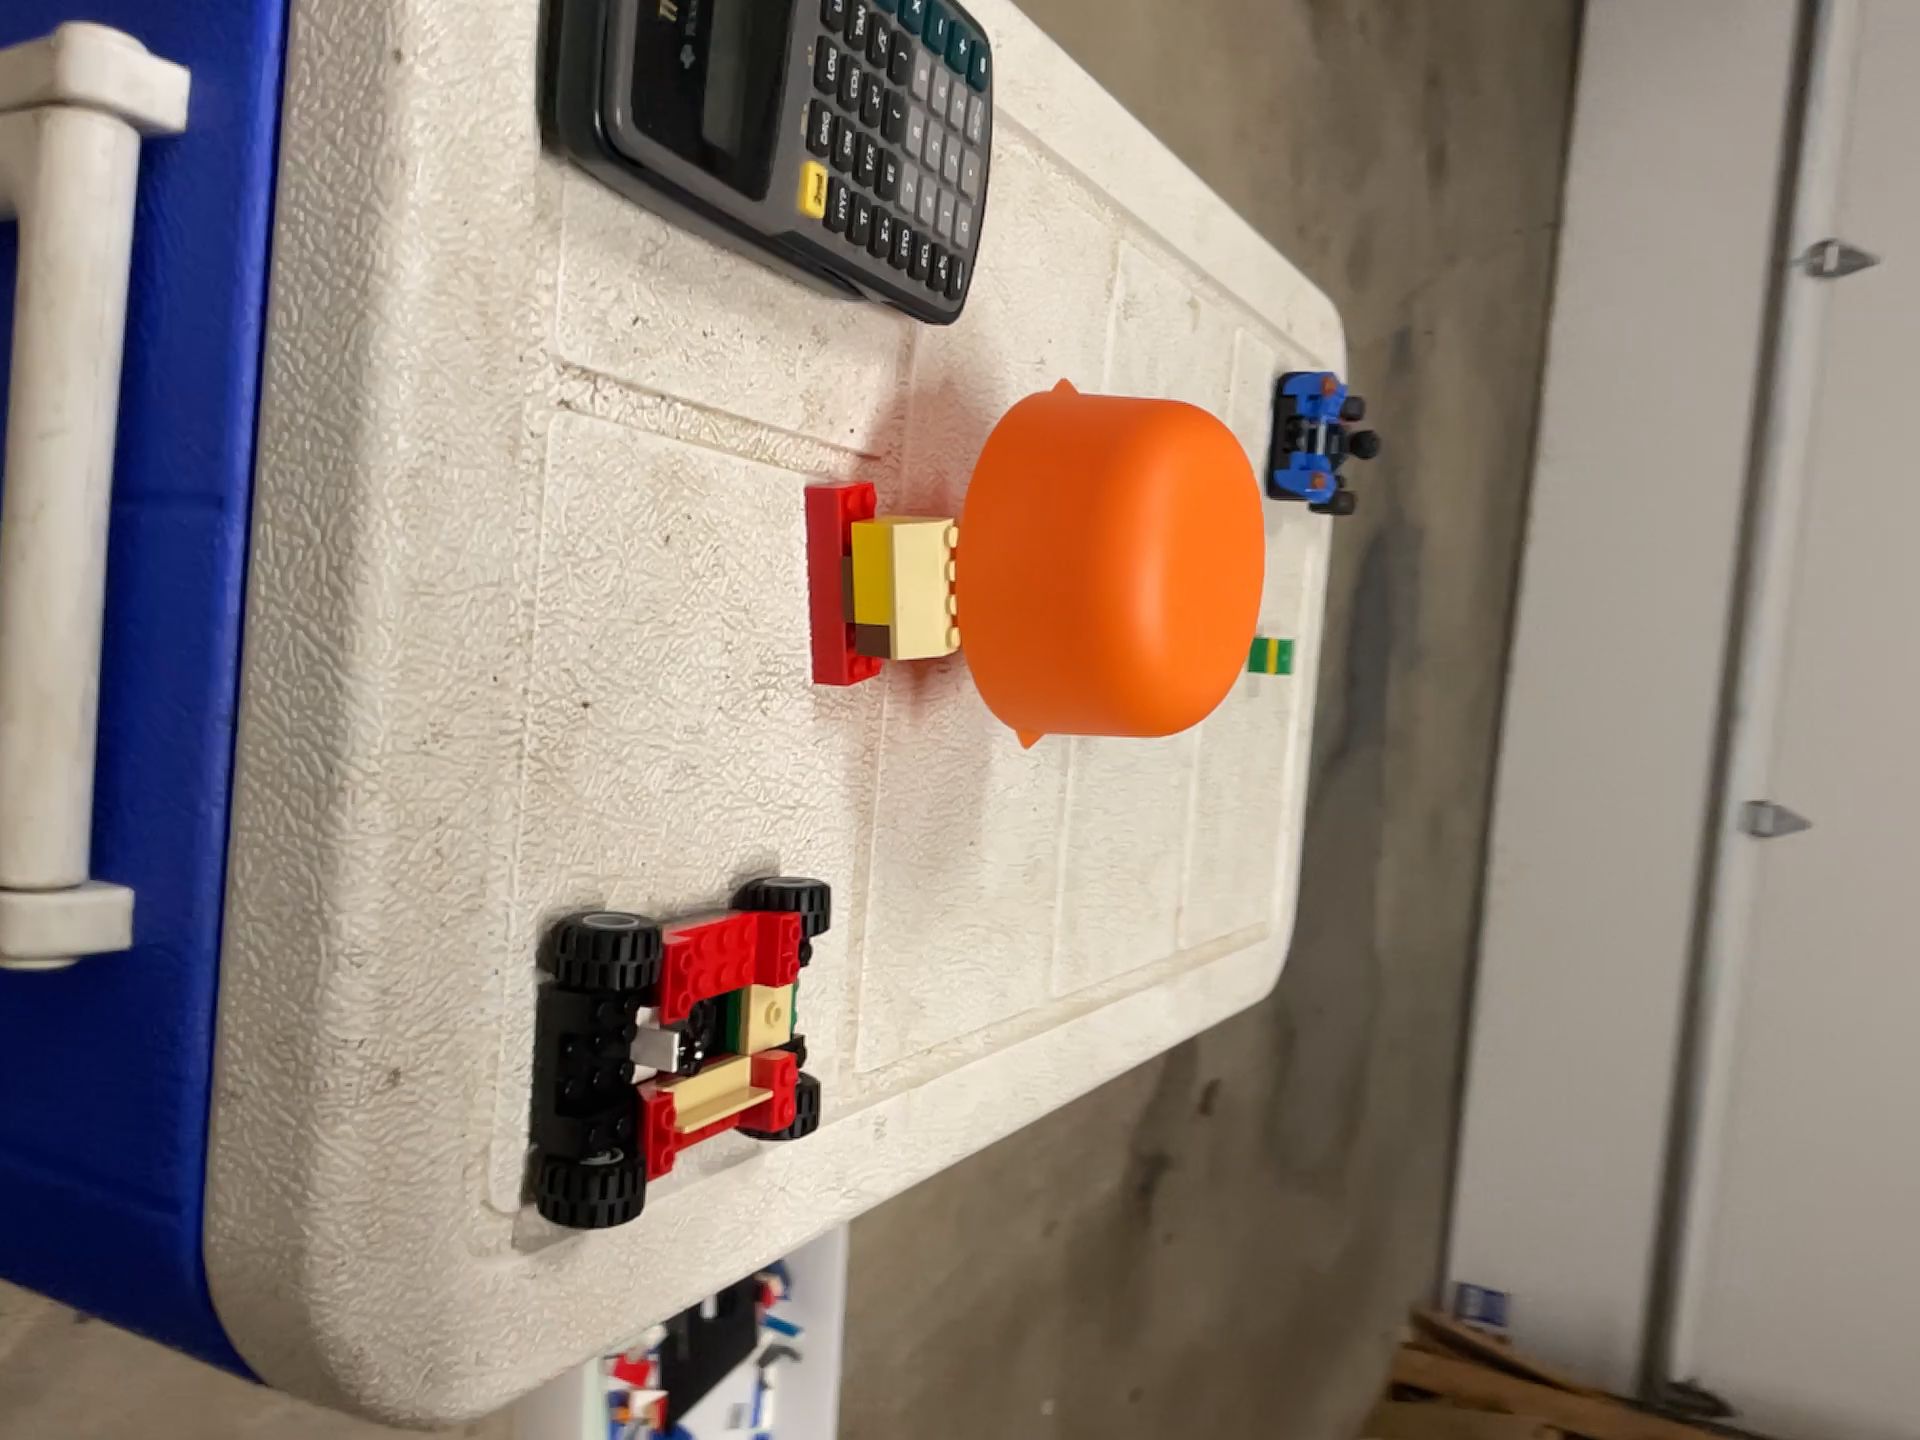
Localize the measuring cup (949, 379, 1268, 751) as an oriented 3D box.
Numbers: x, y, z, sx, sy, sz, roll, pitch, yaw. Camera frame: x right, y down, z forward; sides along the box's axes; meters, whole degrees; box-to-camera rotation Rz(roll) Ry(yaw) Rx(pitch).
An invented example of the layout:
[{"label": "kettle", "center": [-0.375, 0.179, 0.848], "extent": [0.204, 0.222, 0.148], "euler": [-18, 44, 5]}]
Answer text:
[{"label": "measuring cup", "center": [0.064, -0.035, 0.432], "extent": [0.173, 0.052, 0.095], "euler": [5, 92, -57]}]
